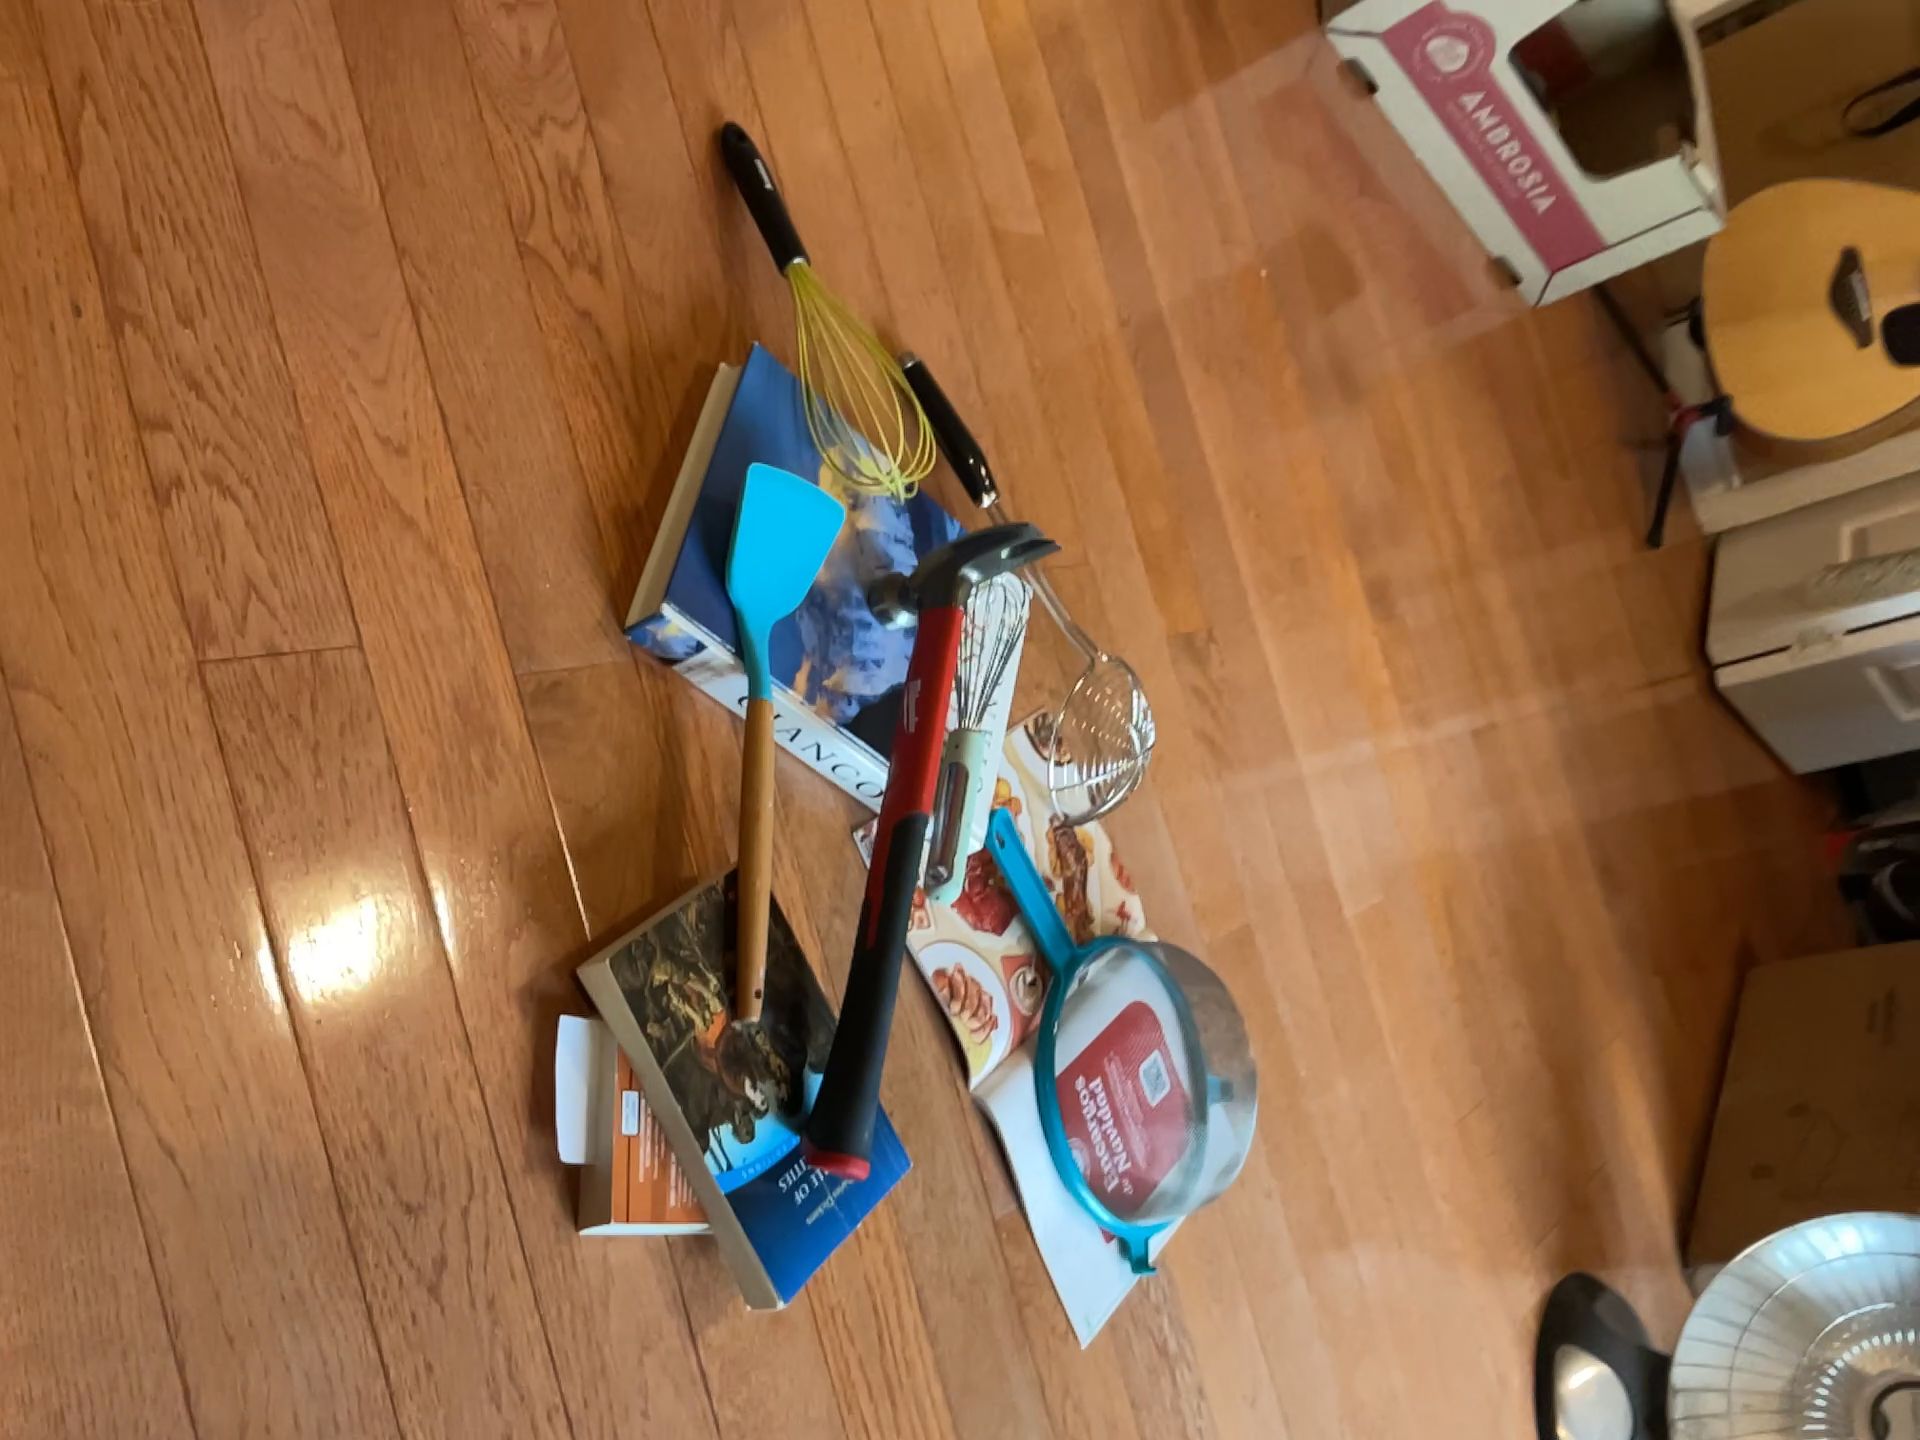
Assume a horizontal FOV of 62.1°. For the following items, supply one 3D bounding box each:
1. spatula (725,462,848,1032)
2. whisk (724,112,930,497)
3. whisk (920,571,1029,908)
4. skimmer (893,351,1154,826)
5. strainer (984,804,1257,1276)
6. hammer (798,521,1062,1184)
[{"bbox_3d":[-0.107,0.013,0.889,0.082,0.044,0.318,23,58,-45],"label":"spatula"},{"bbox_3d":[-0.098,-0.275,1.040,0.080,0.067,0.312,-11,69,-36],"label":"whisk"},{"bbox_3d":[0.004,0.004,1.032,0.059,0.057,0.247,66,30,-62],"label":"whisk"},{"bbox_3d":[0.032,-0.096,1.174,0.127,0.090,0.363,-30,88,-49],"label":"skimmer"},{"bbox_3d":[0.120,0.198,1.090,0.211,0.095,0.340,-48,119,-47],"label":"strainer"},{"bbox_3d":[-0.025,0.064,0.904,0.038,0.143,0.387,31,56,-35],"label":"hammer"}]
